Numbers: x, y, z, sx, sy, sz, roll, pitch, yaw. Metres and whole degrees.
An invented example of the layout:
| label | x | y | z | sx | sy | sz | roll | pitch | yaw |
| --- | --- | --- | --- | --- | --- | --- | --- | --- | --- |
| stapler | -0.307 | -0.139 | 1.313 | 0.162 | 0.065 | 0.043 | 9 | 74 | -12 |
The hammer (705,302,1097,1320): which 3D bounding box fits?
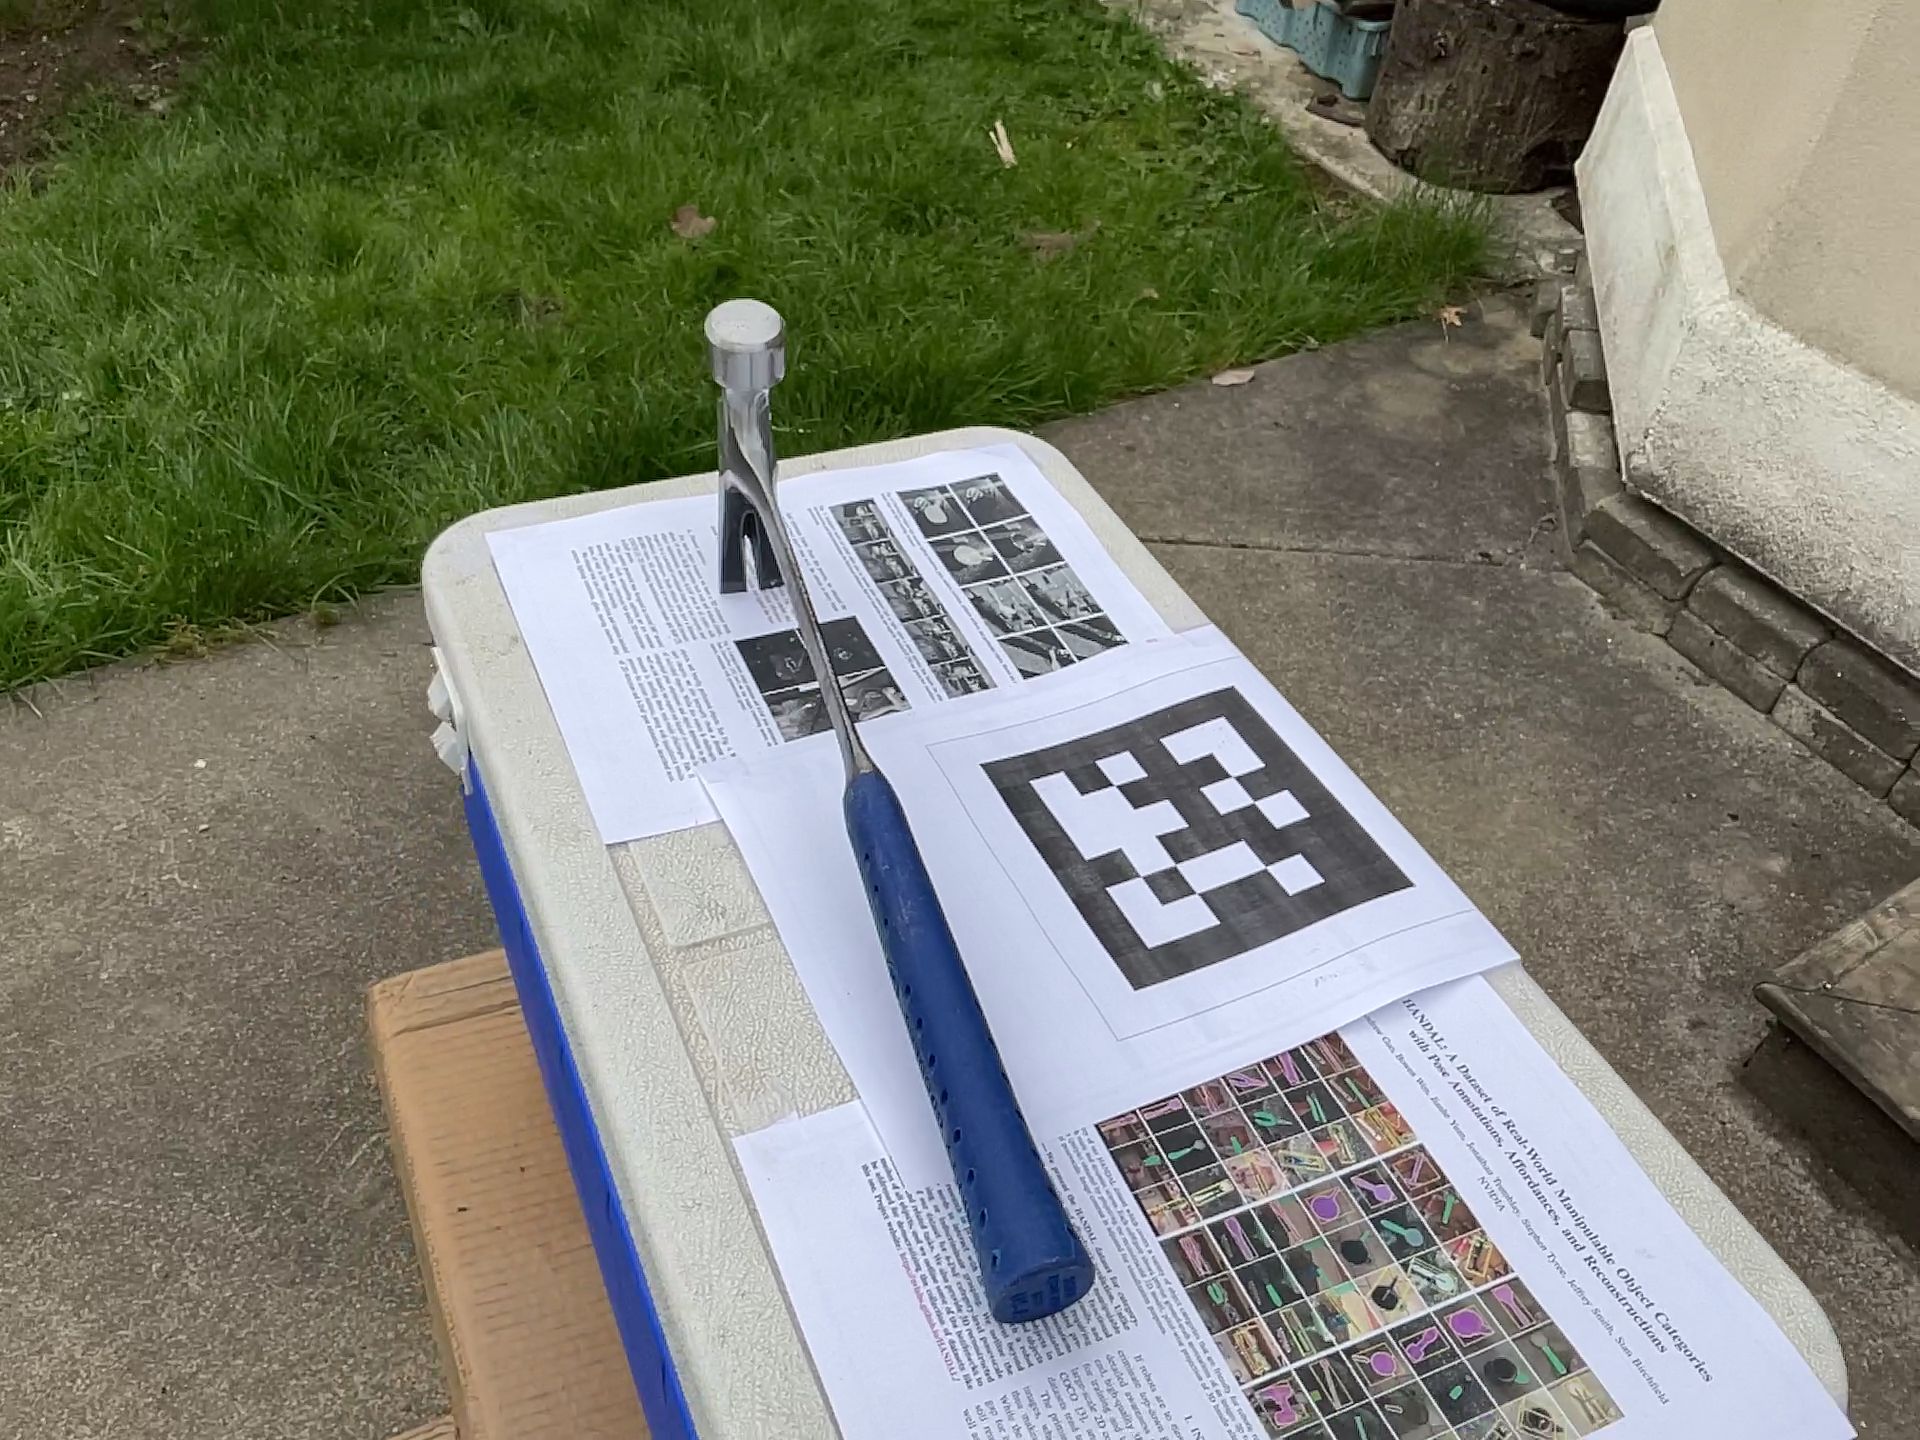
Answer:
| label | x | y | z | sx | sy | sz | roll | pitch | yaw |
| --- | --- | --- | --- | --- | --- | --- | --- | --- | --- |
| hammer | -0.037 | 0.023 | 0.598 | 0.035 | 0.144 | 0.406 | -11 | 53 | -15 |
